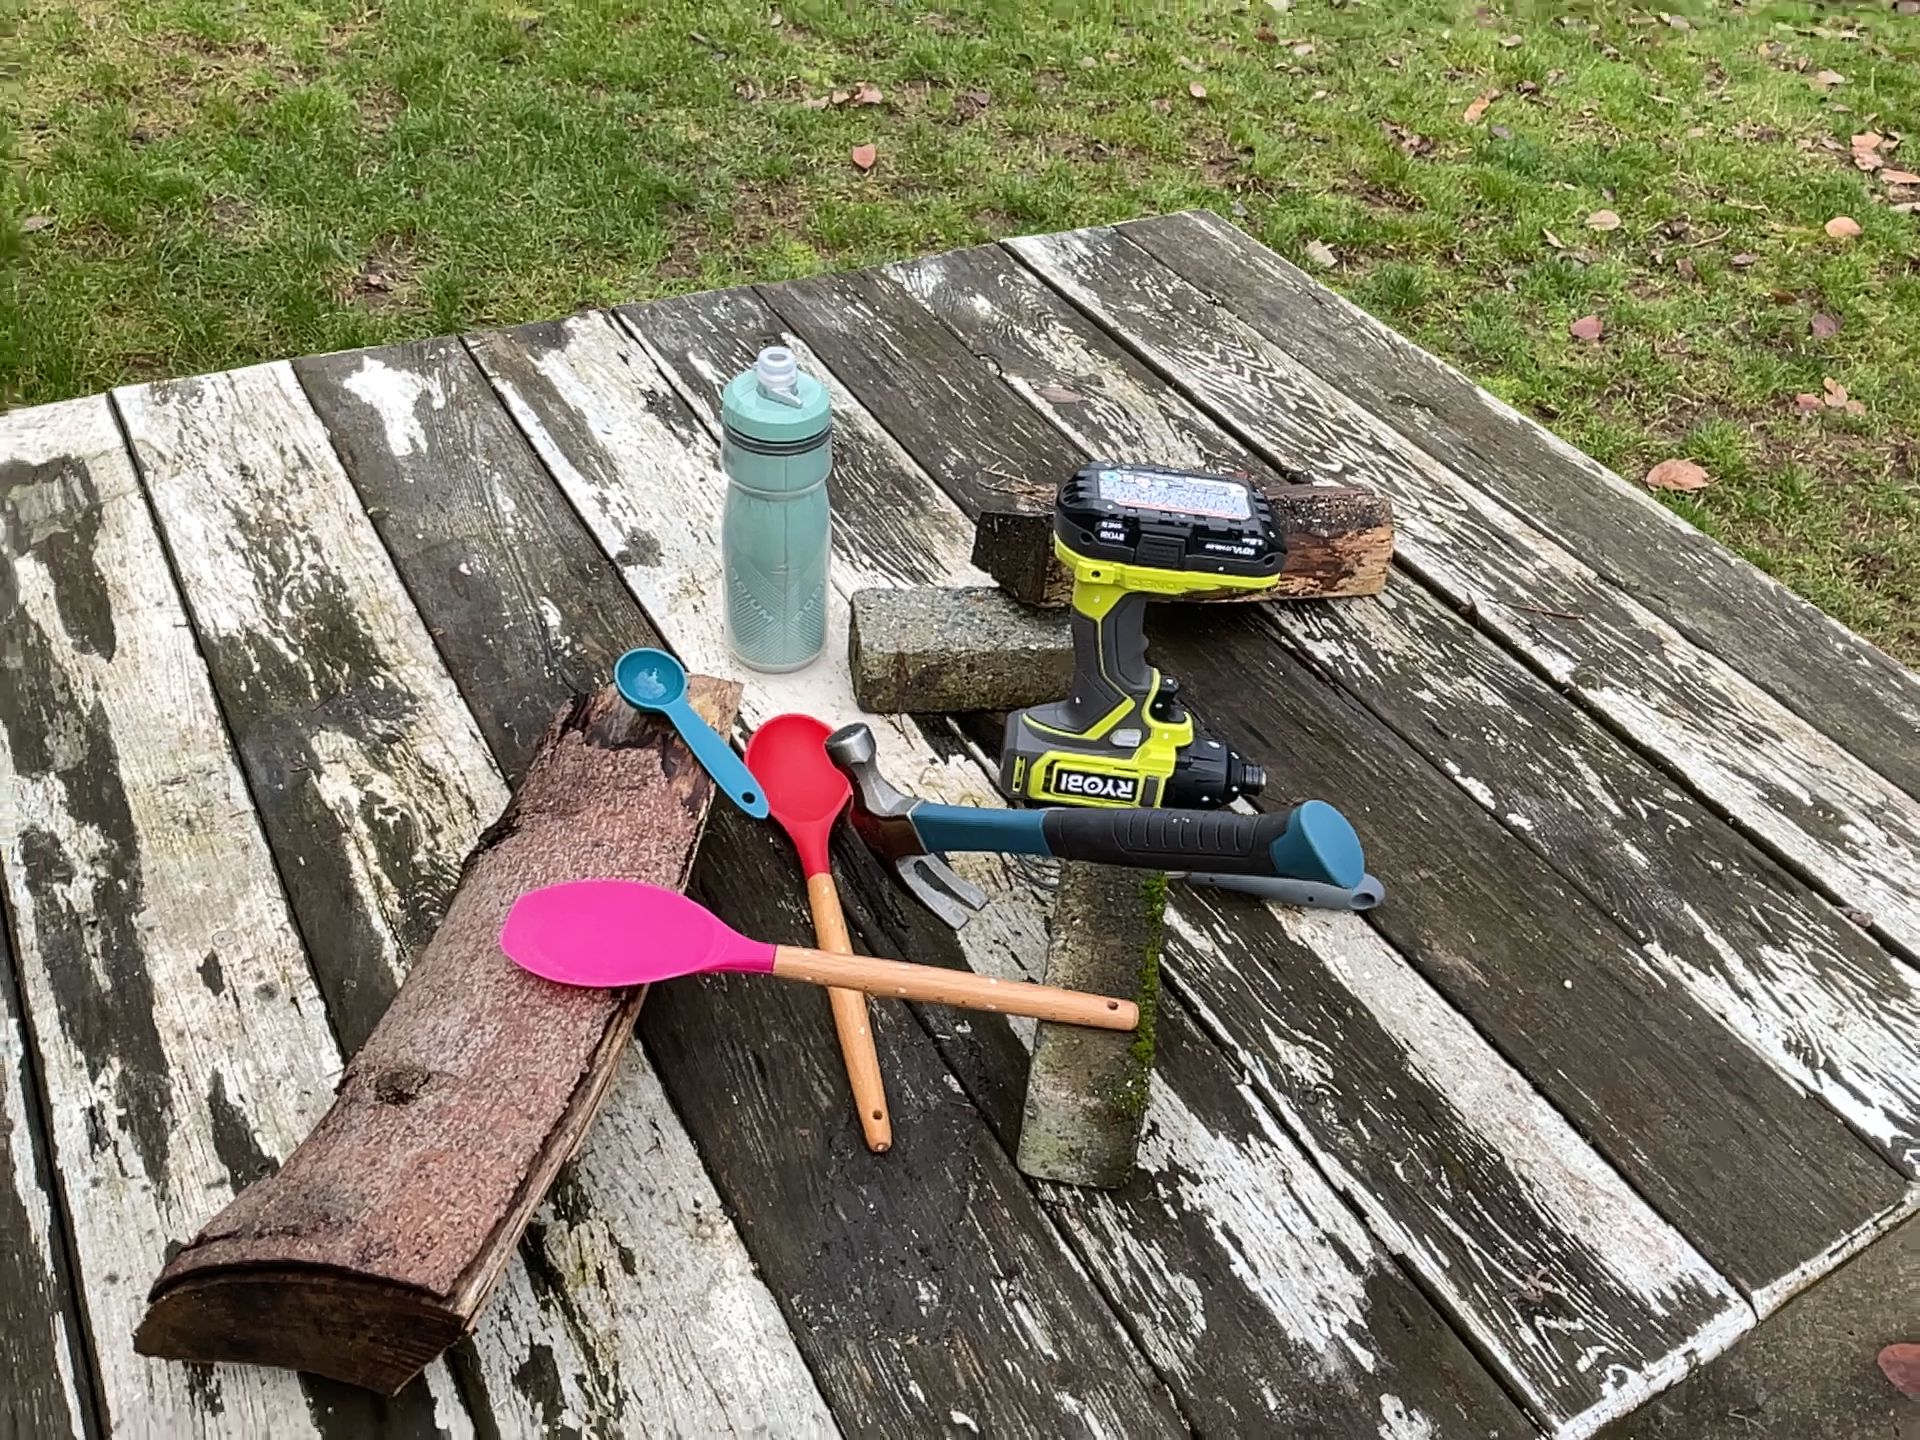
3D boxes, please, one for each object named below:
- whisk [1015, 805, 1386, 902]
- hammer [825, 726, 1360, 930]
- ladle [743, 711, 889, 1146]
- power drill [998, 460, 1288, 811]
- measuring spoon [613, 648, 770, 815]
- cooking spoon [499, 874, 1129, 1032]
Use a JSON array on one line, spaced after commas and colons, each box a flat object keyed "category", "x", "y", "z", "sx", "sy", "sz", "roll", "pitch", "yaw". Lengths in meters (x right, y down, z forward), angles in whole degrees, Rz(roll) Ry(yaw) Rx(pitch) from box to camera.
[{"category": "whisk", "x": 0.145, "y": 0.087, "z": 0.977, "sx": 0.239, "sy": 0.055, "sz": 0.055, "roll": 7, "pitch": 49, "yaw": -4}, {"category": "hammer", "x": 0.062, "y": 0.062, "z": 0.867, "sx": 0.331, "sy": 0.128, "sz": 0.033, "roll": -1, "pitch": 30, "yaw": 45}, {"category": "ladle", "x": -0.078, "y": 0.113, "z": 0.943, "sx": 0.069, "sy": 0.031, "sz": 0.316, "roll": -4, "pitch": 44, "yaw": -15}, {"category": "power drill", "x": 0.122, "y": -0.039, "z": 0.994, "sx": 0.171, "sy": 0.223, "sz": 0.080, "roll": 7, "pitch": 33, "yaw": -2}, {"category": "measuring spoon", "x": -0.156, "y": 0.011, "z": 0.932, "sx": 0.129, "sy": 0.021, "sz": 0.042, "roll": 48, "pitch": 52, "yaw": 11}, {"category": "cooking spoon", "x": -0.071, "y": 0.125, "z": 0.805, "sx": 0.319, "sy": 0.017, "sz": 0.069, "roll": 10, "pitch": 40, "yaw": -2}]
